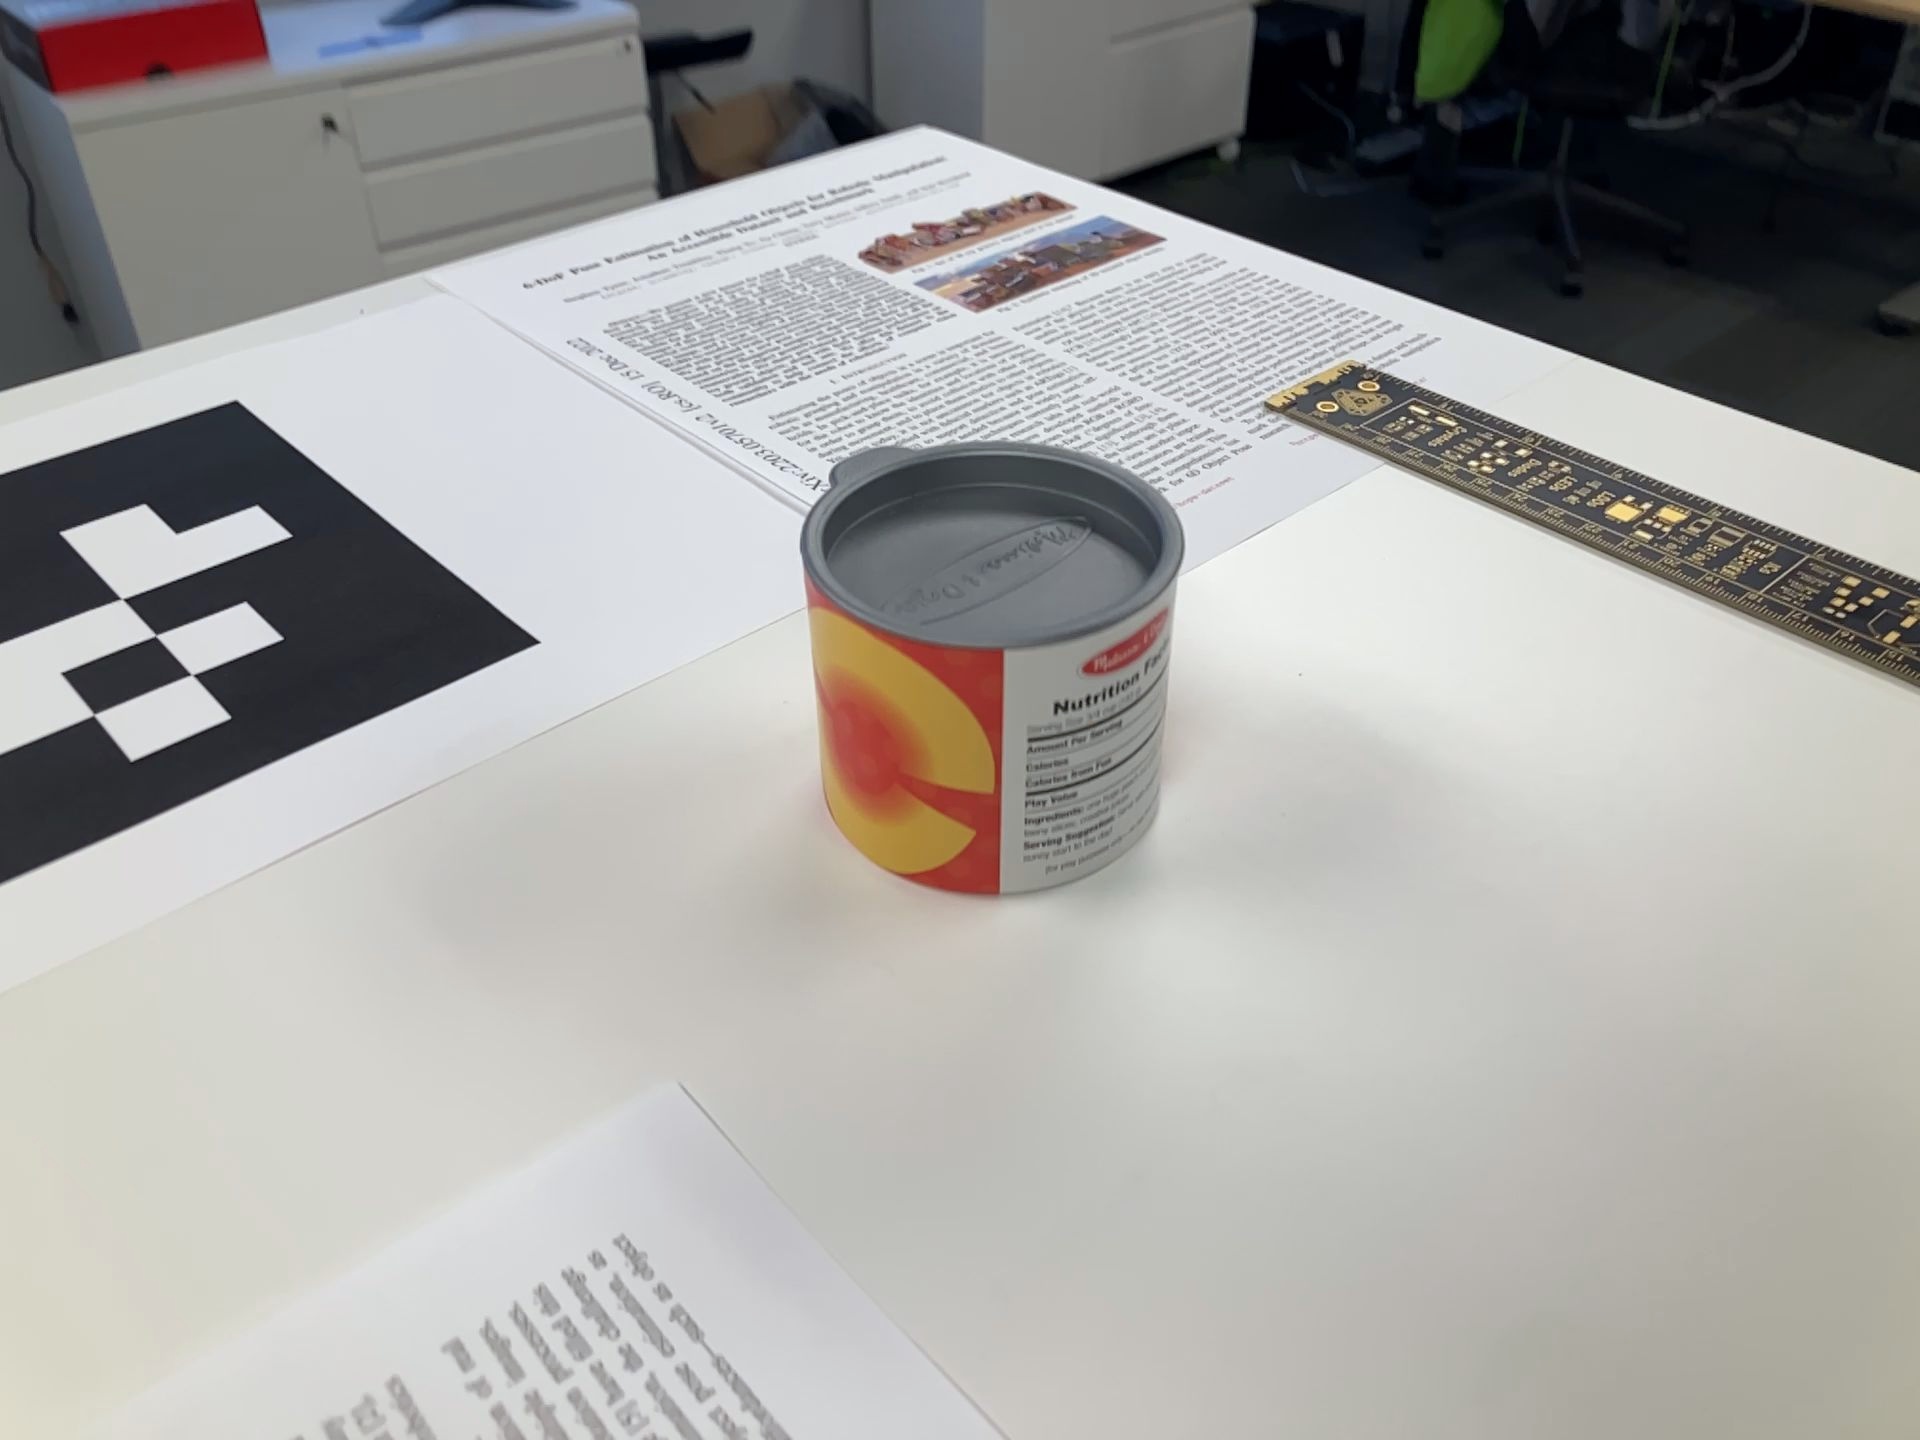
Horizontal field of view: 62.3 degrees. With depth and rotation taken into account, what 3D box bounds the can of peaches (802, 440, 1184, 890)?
[{"bbox_3d":[0.004,-0.012,0.294,0.071,0.058,0.071,-1,37,1],"label":"can of peaches"}]
